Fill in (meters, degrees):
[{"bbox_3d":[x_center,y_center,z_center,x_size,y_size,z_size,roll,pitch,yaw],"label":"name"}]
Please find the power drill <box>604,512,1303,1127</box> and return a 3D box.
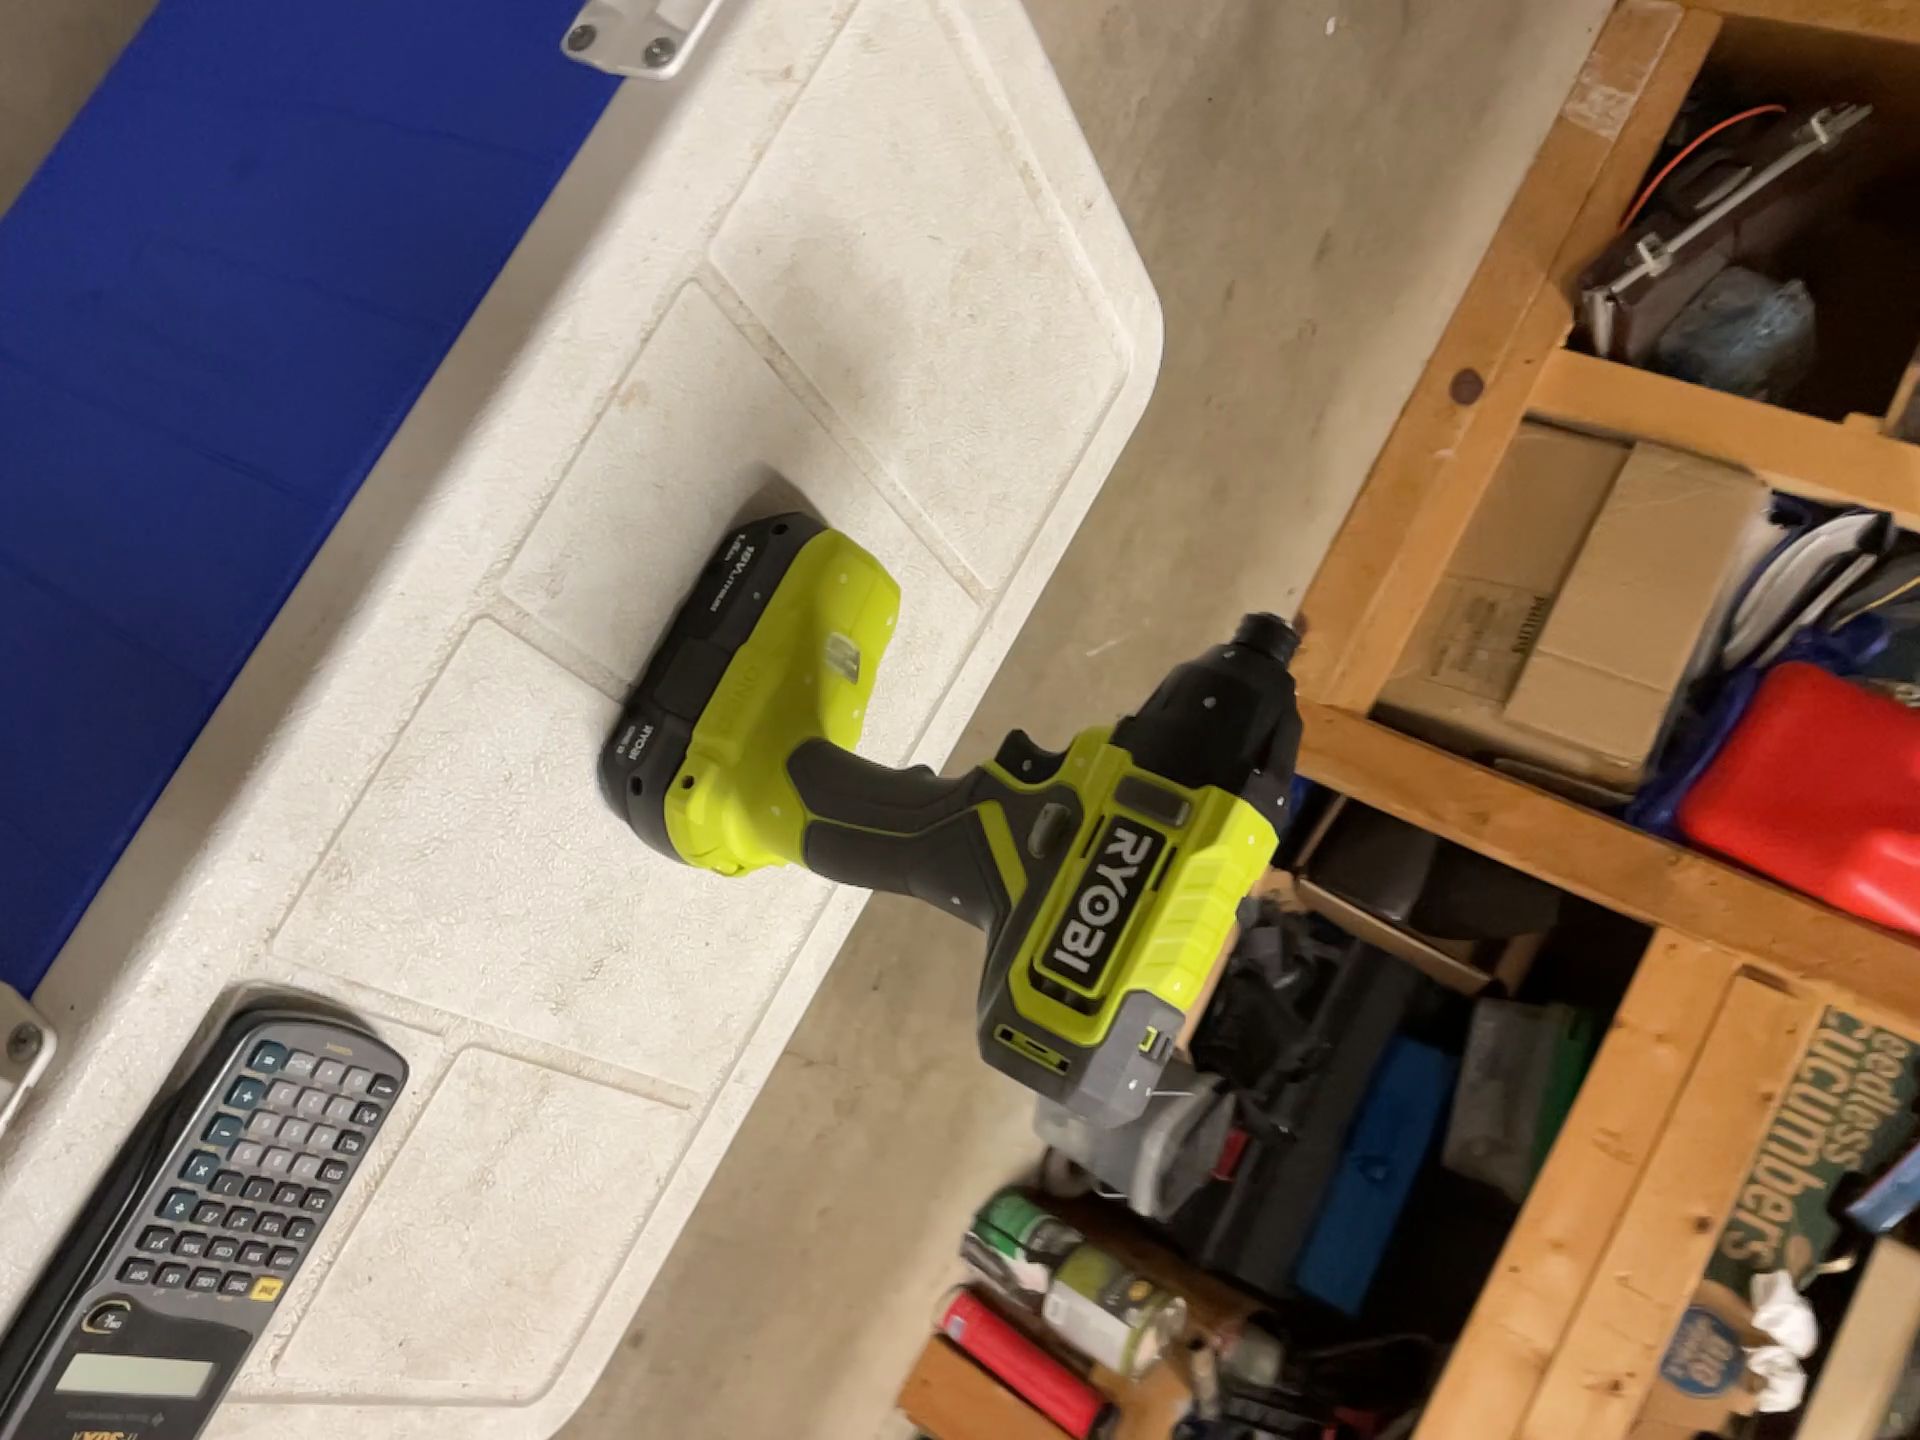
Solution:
[{"bbox_3d":[-0.001,0.015,0.560,0.171,0.223,0.080,-63,150,-8],"label":"power drill"}]
